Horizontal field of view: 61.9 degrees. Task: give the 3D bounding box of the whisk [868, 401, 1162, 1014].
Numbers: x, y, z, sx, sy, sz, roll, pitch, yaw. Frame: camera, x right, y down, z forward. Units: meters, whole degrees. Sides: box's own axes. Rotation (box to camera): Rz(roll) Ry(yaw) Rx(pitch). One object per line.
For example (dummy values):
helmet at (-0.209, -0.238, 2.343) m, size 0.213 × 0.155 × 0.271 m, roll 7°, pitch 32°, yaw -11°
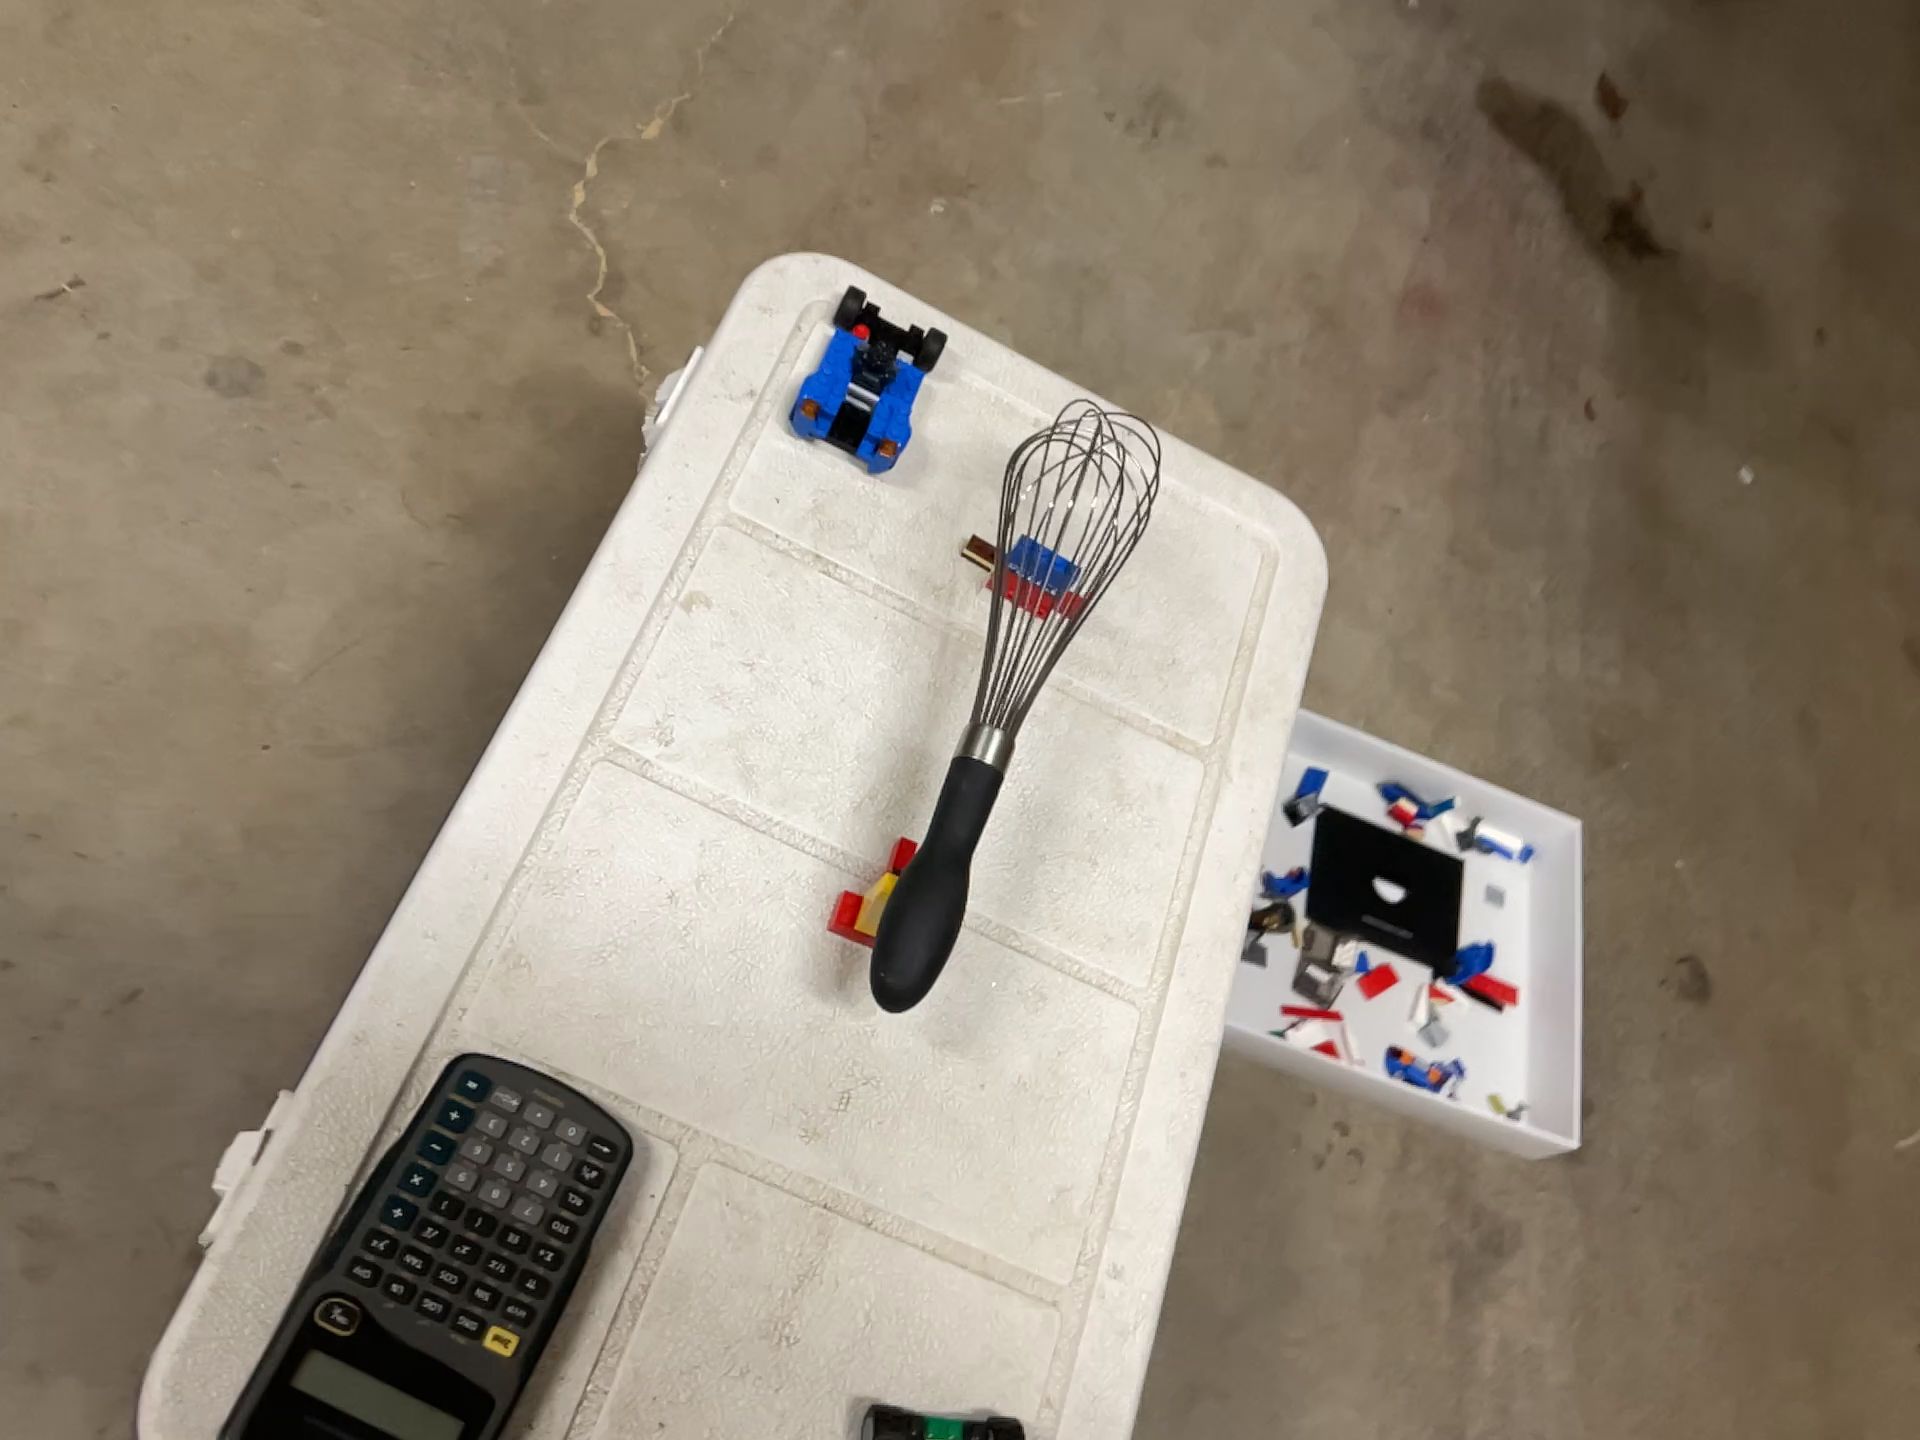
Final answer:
whisk at (0.020, -0.014, 0.648) m, size 0.070 × 0.070 × 0.285 m, roll 27°, pitch 65°, yaw -15°
